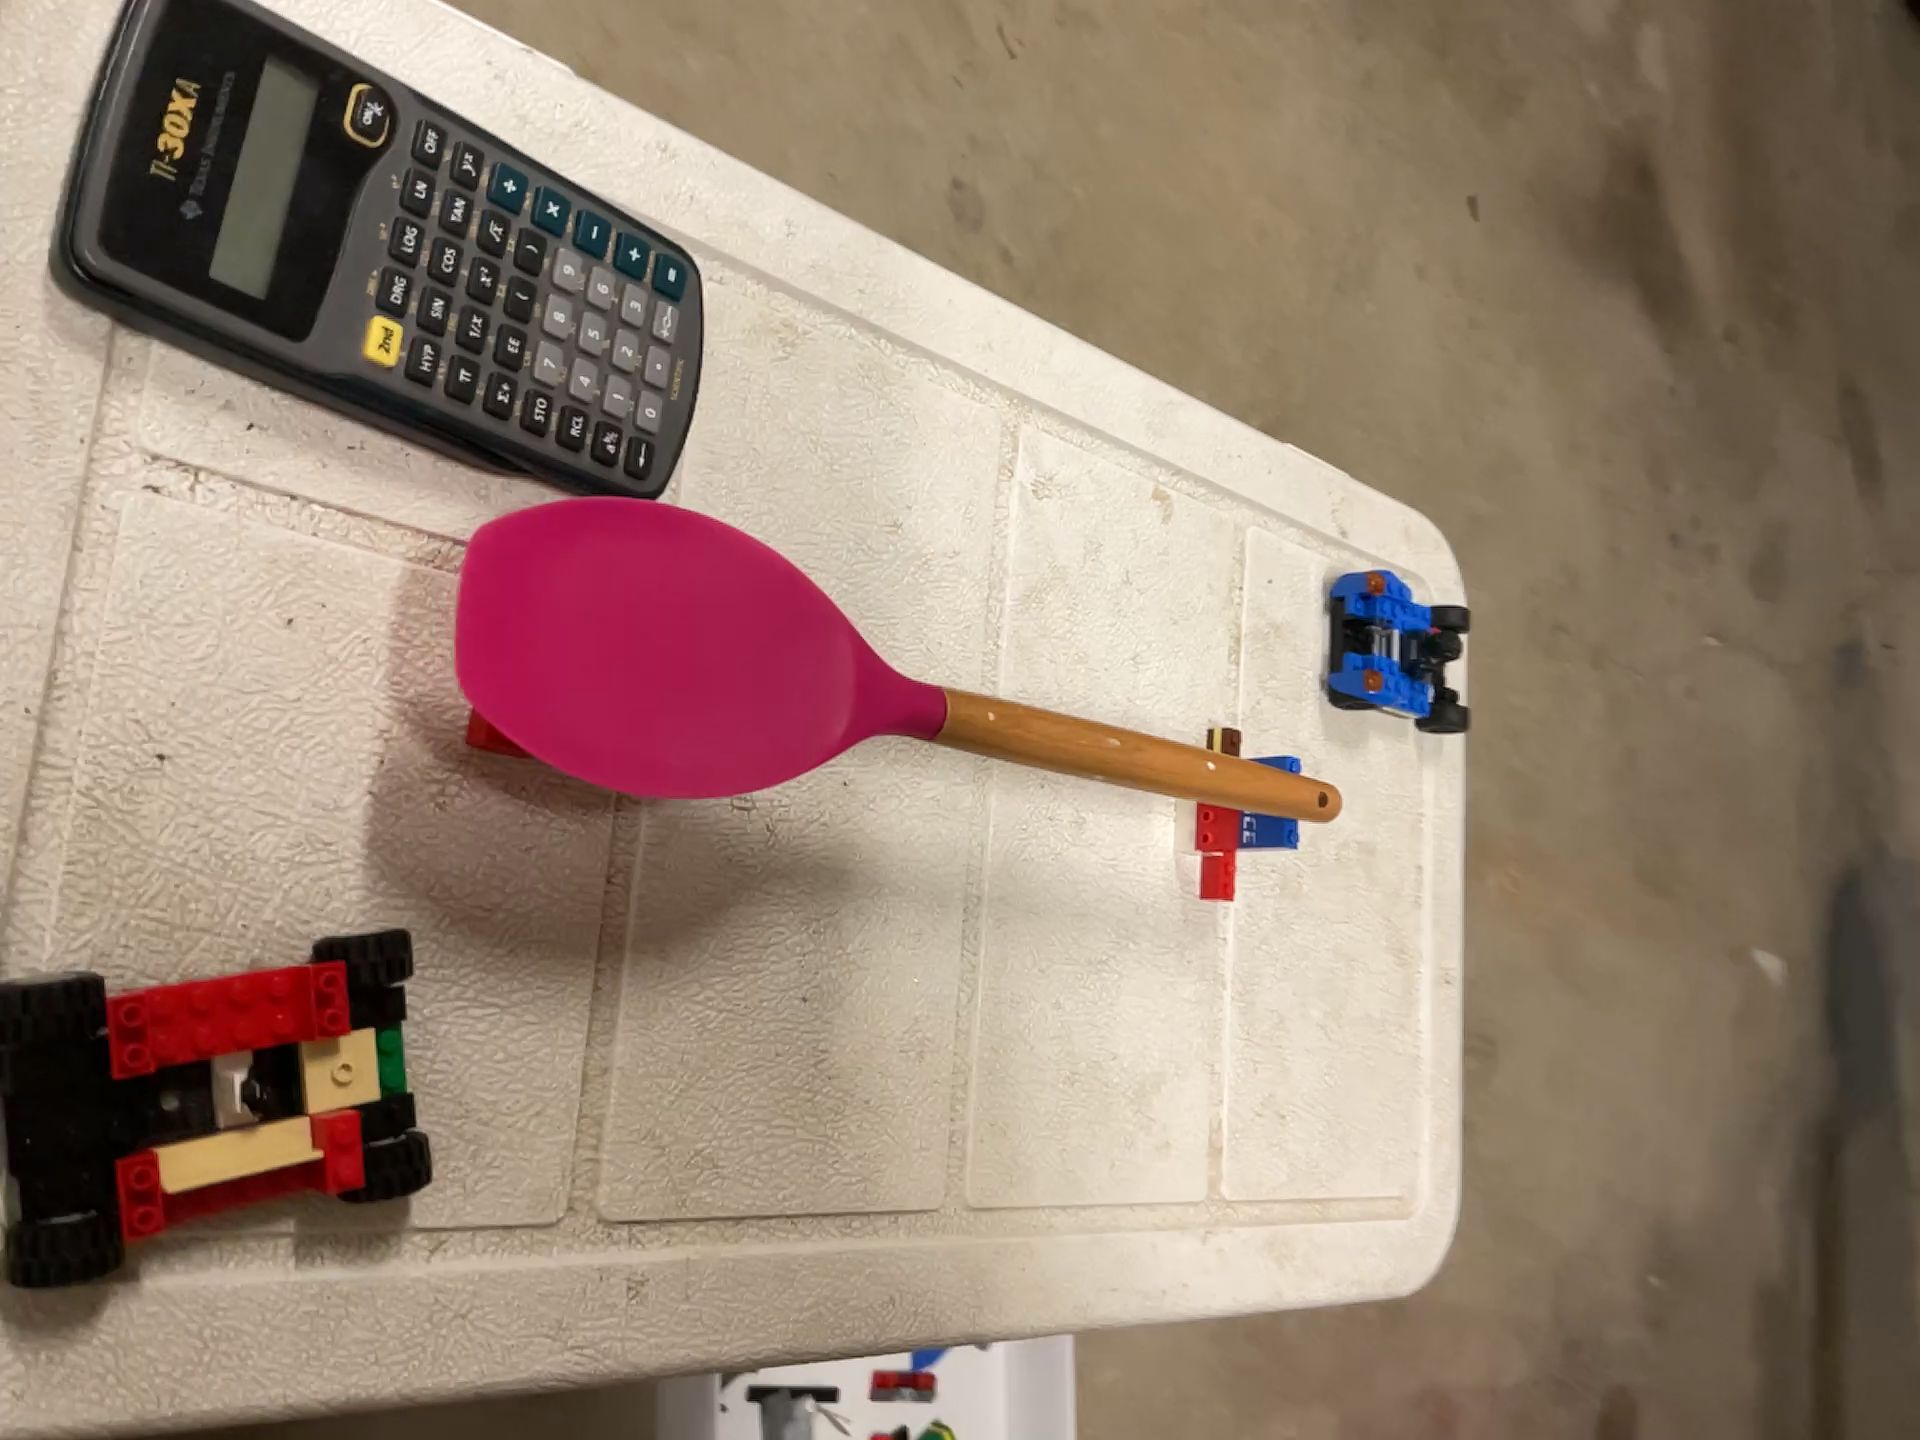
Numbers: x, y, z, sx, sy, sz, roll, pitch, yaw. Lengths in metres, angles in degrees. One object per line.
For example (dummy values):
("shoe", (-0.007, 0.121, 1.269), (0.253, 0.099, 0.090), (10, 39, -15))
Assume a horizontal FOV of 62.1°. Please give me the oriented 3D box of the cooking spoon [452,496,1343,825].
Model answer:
("cooking spoon", (0.009, 0.003, 0.442), (0.319, 0.017, 0.069), (13, 76, -41))
